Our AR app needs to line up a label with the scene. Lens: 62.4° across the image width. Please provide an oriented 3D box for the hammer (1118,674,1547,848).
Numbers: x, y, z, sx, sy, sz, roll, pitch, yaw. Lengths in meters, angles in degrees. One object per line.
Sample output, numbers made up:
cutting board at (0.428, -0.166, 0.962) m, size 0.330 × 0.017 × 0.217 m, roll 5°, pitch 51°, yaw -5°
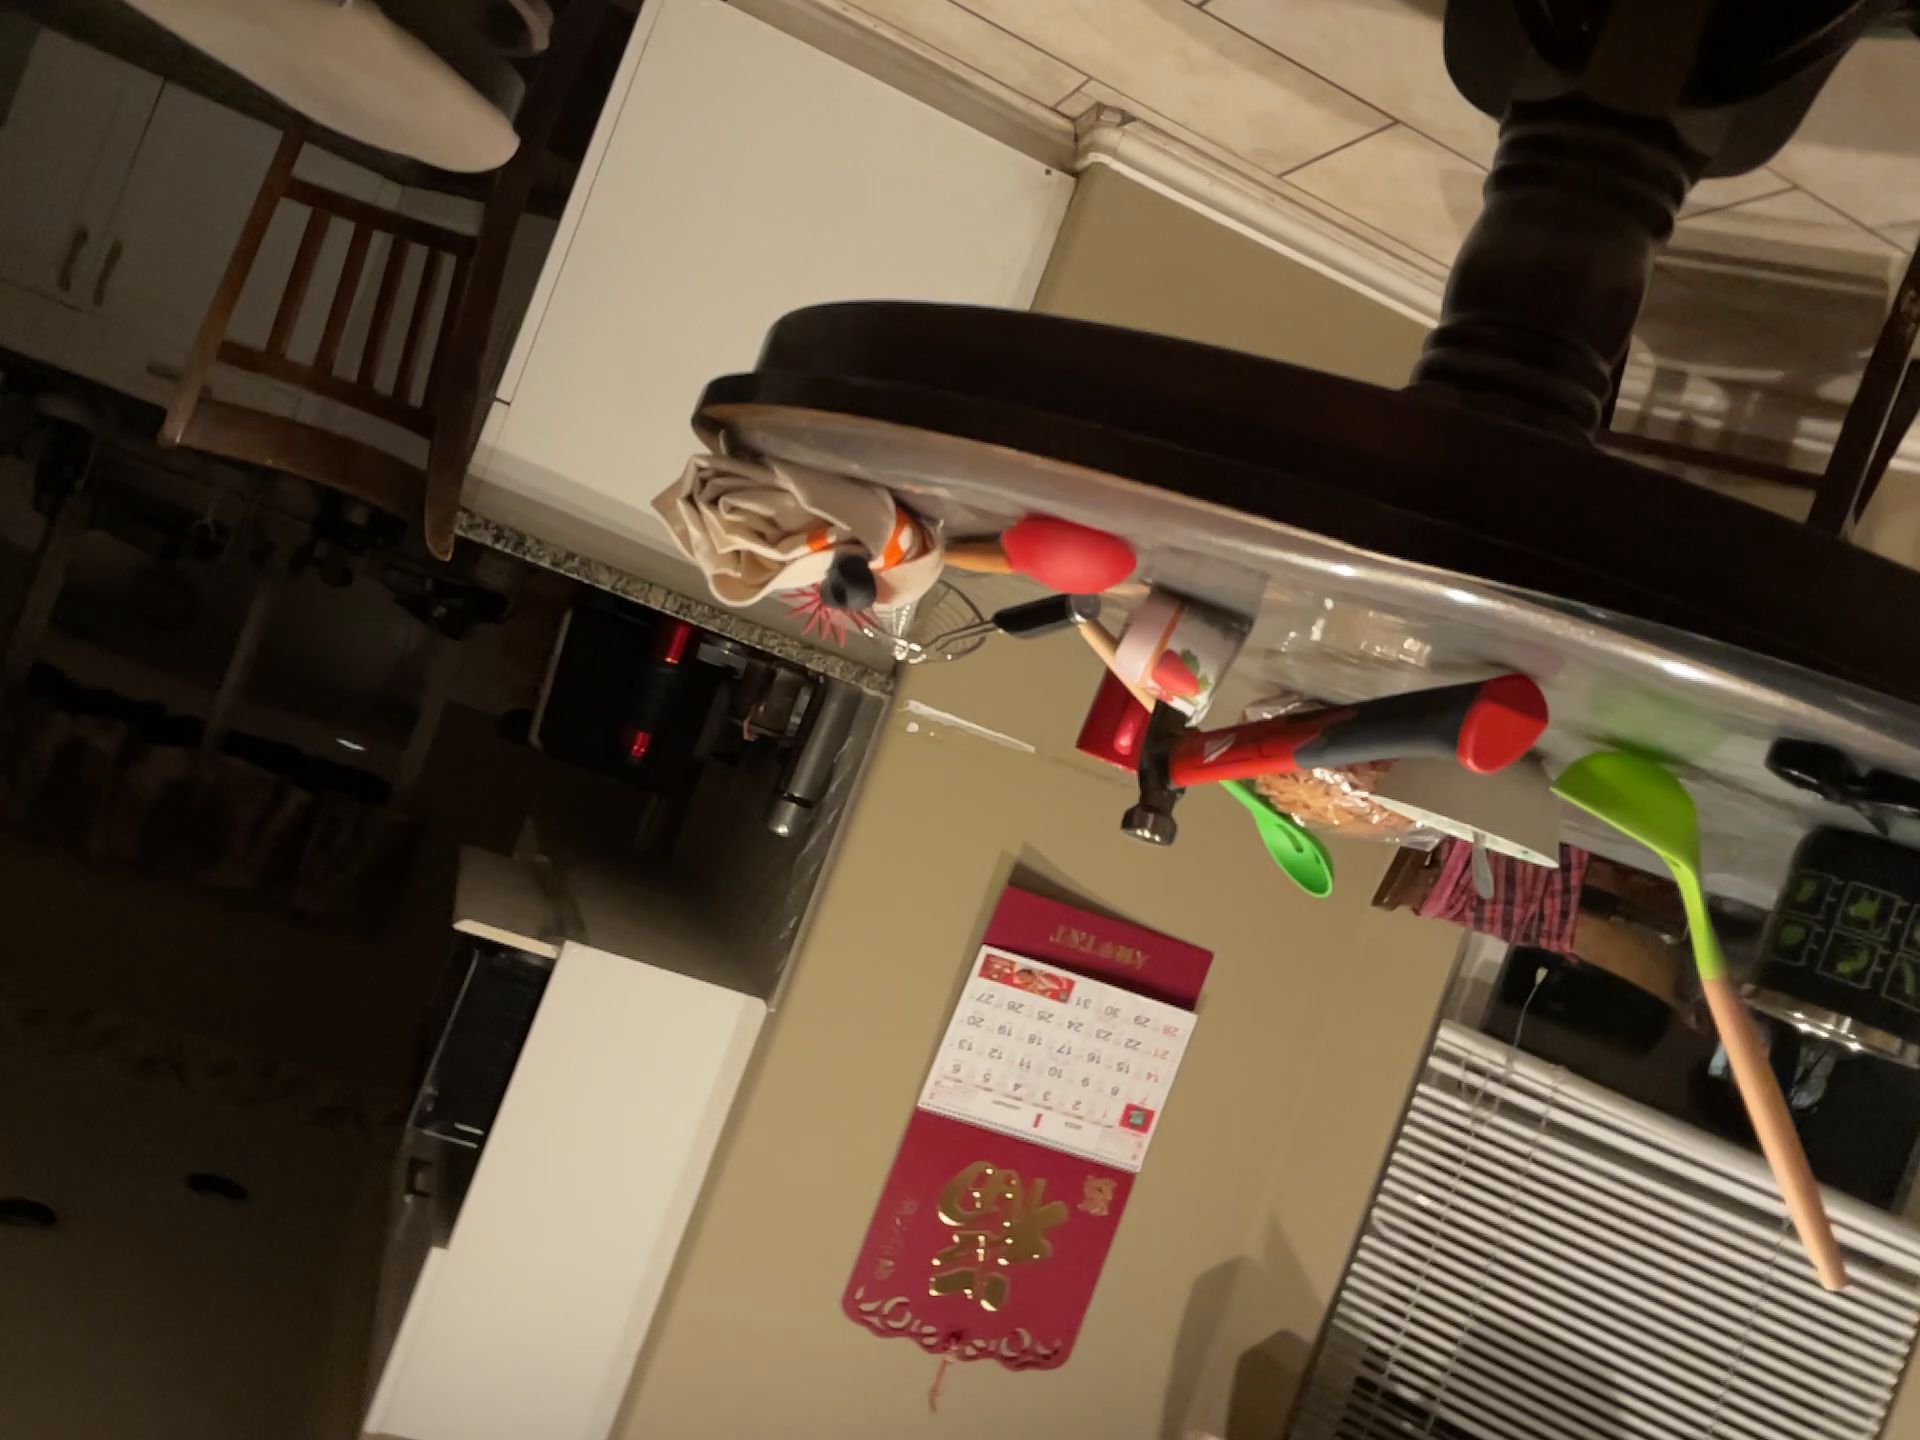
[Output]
hammer at (0.199, -0.003, 0.912) m, size 0.038 × 0.143 × 0.386 m, roll 20°, pitch 168°, yaw -16°

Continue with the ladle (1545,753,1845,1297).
ladle at (0.395, 0.164, 0.839) m, size 0.062 × 0.320 × 0.078 m, roll -22°, pitch -175°, yaw 10°

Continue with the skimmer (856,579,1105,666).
skimmer at (0.015, -0.096, 1.175) m, size 0.127 × 0.090 × 0.363 m, roll 13°, pitch 172°, yaw -23°

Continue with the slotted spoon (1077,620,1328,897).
slotted spoon at (0.180, 0.022, 1.179) m, size 0.313 × 0.031 × 0.070 m, roll 46°, pitch 165°, yaw -22°

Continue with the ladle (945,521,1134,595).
ladle at (0.025, -0.096, 0.922) m, size 0.069 × 0.031 × 0.315 m, roll 22°, pitch -178°, yaw -15°

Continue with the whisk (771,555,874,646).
whisk at (-0.081, -0.083, 1.013) m, size 0.073 × 0.073 × 0.296 m, roll 22°, pitch 179°, yaw -9°
